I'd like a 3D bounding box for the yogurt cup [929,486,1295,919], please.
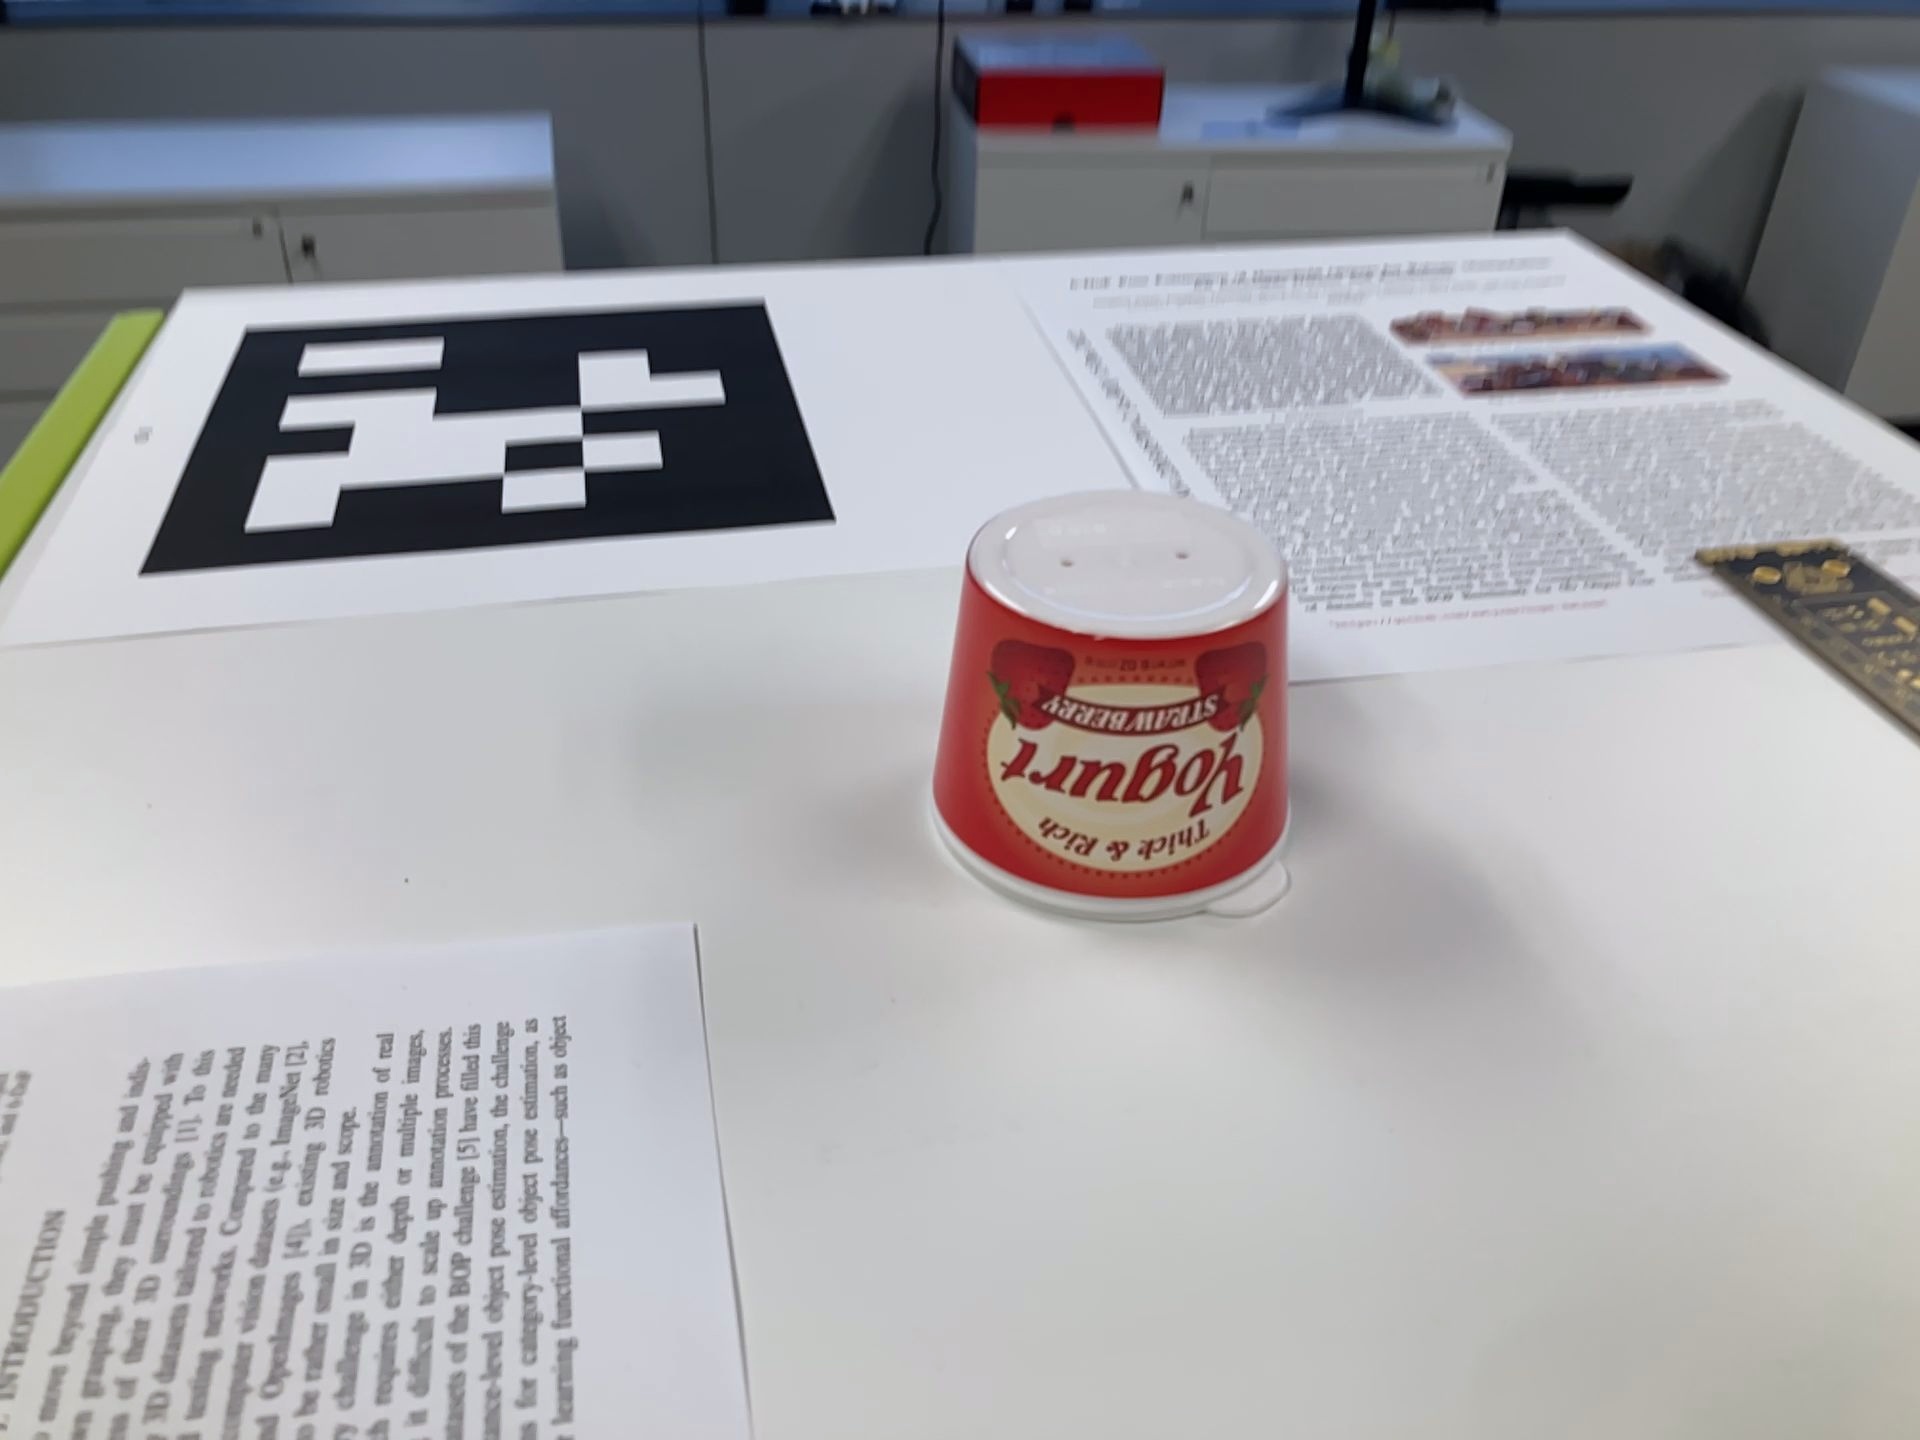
[{"bbox_3d":[0.028,-0.006,0.283,0.072,0.054,0.072,0,34,0],"label":"yogurt cup"}]
